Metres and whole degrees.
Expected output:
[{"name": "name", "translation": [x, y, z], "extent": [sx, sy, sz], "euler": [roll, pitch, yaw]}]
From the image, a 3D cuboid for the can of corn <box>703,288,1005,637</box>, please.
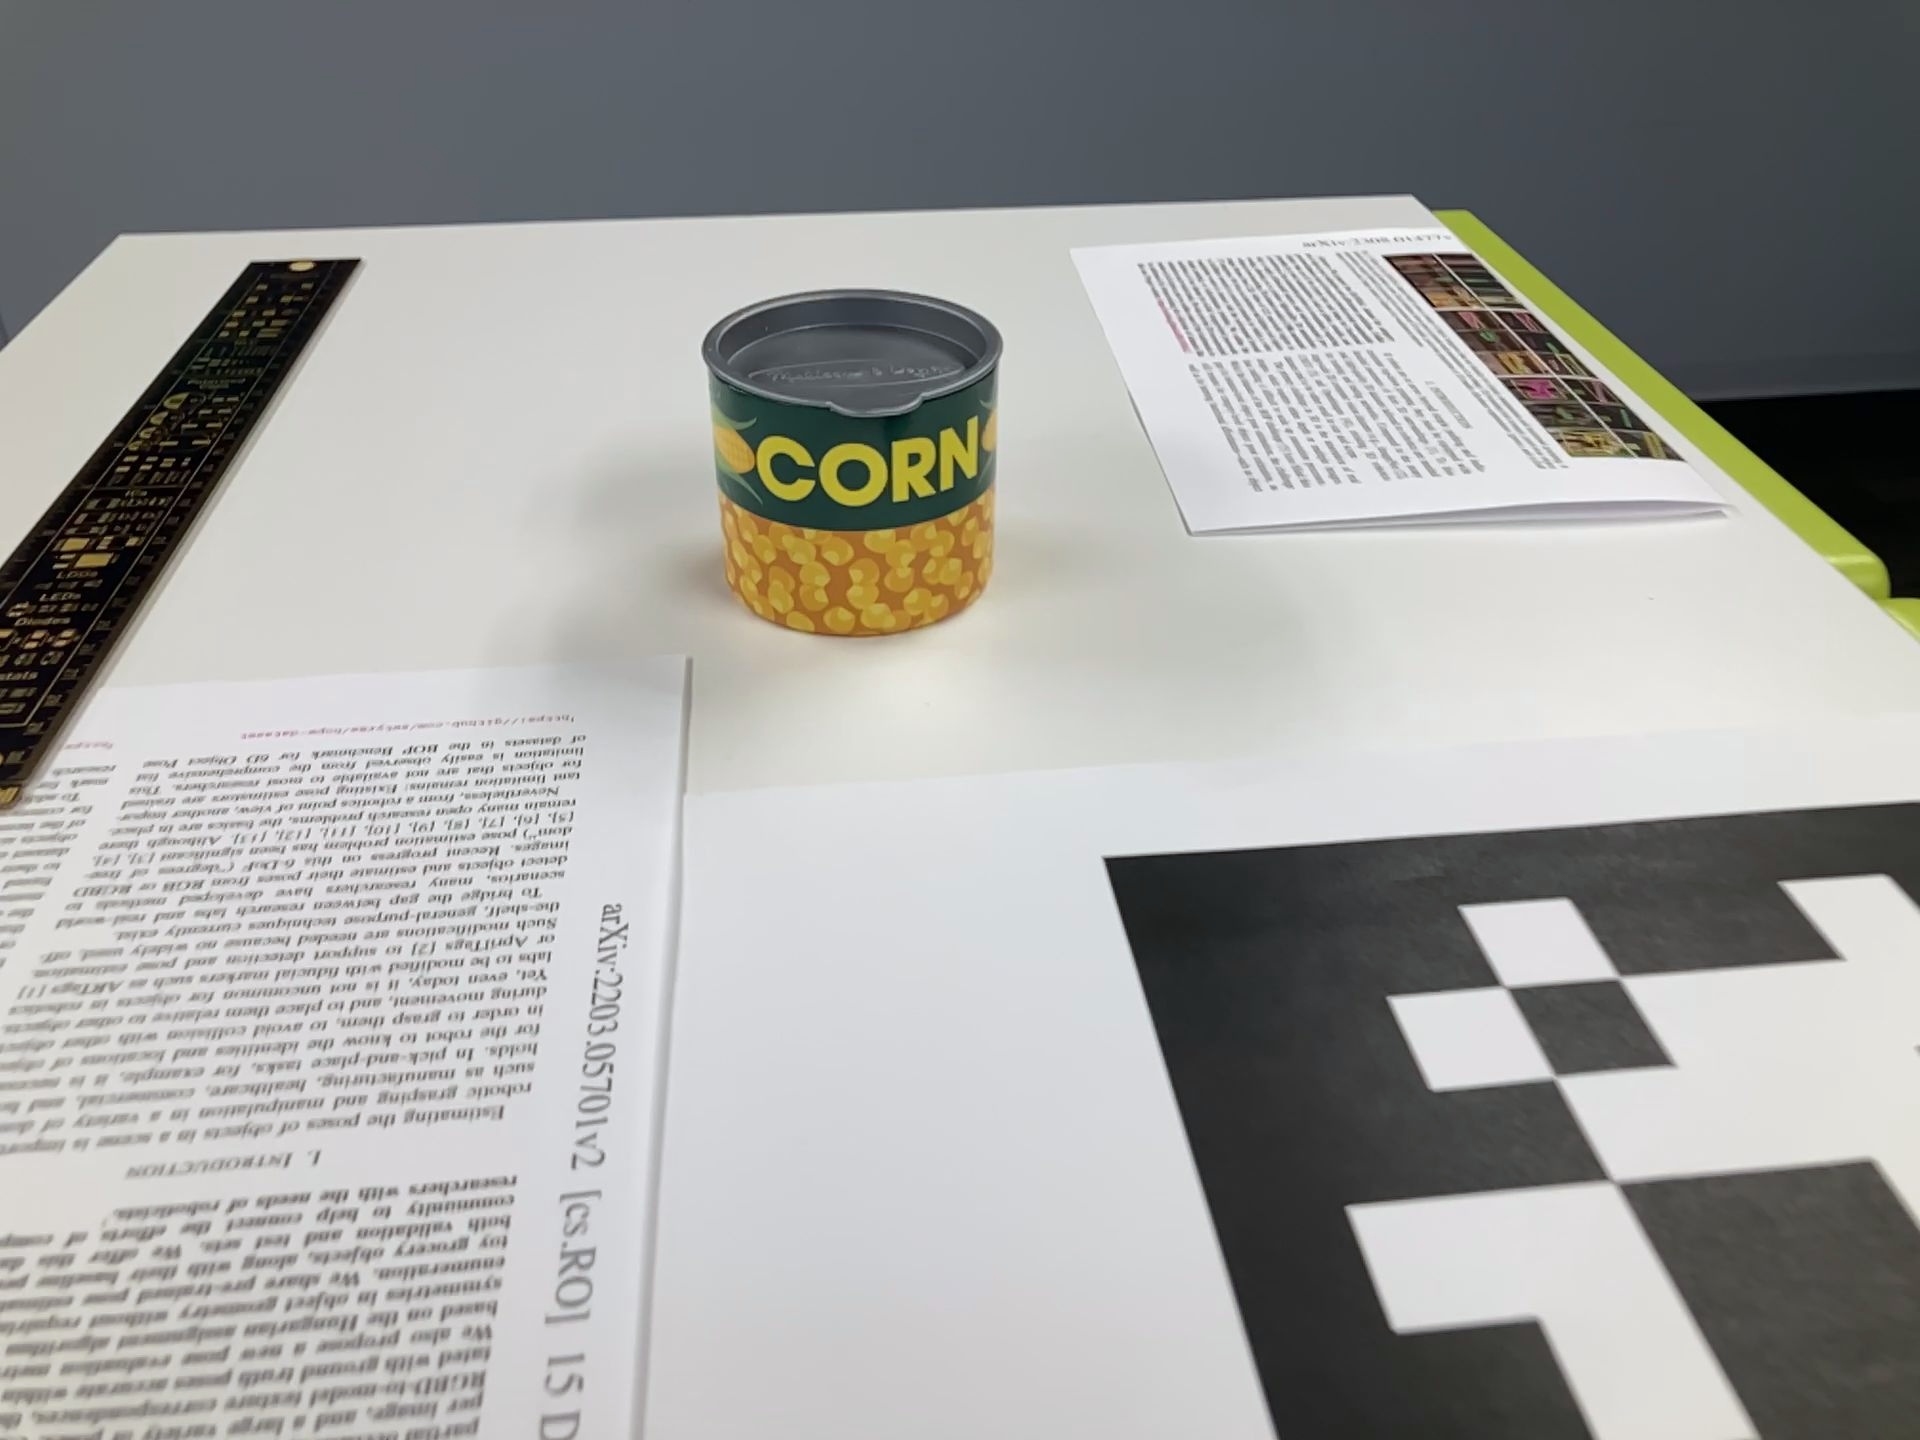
[{"name": "can of corn", "translation": [-0.023, -0.059, 0.363], "extent": [0.071, 0.058, 0.071], "euler": [0, 35, 0]}]
